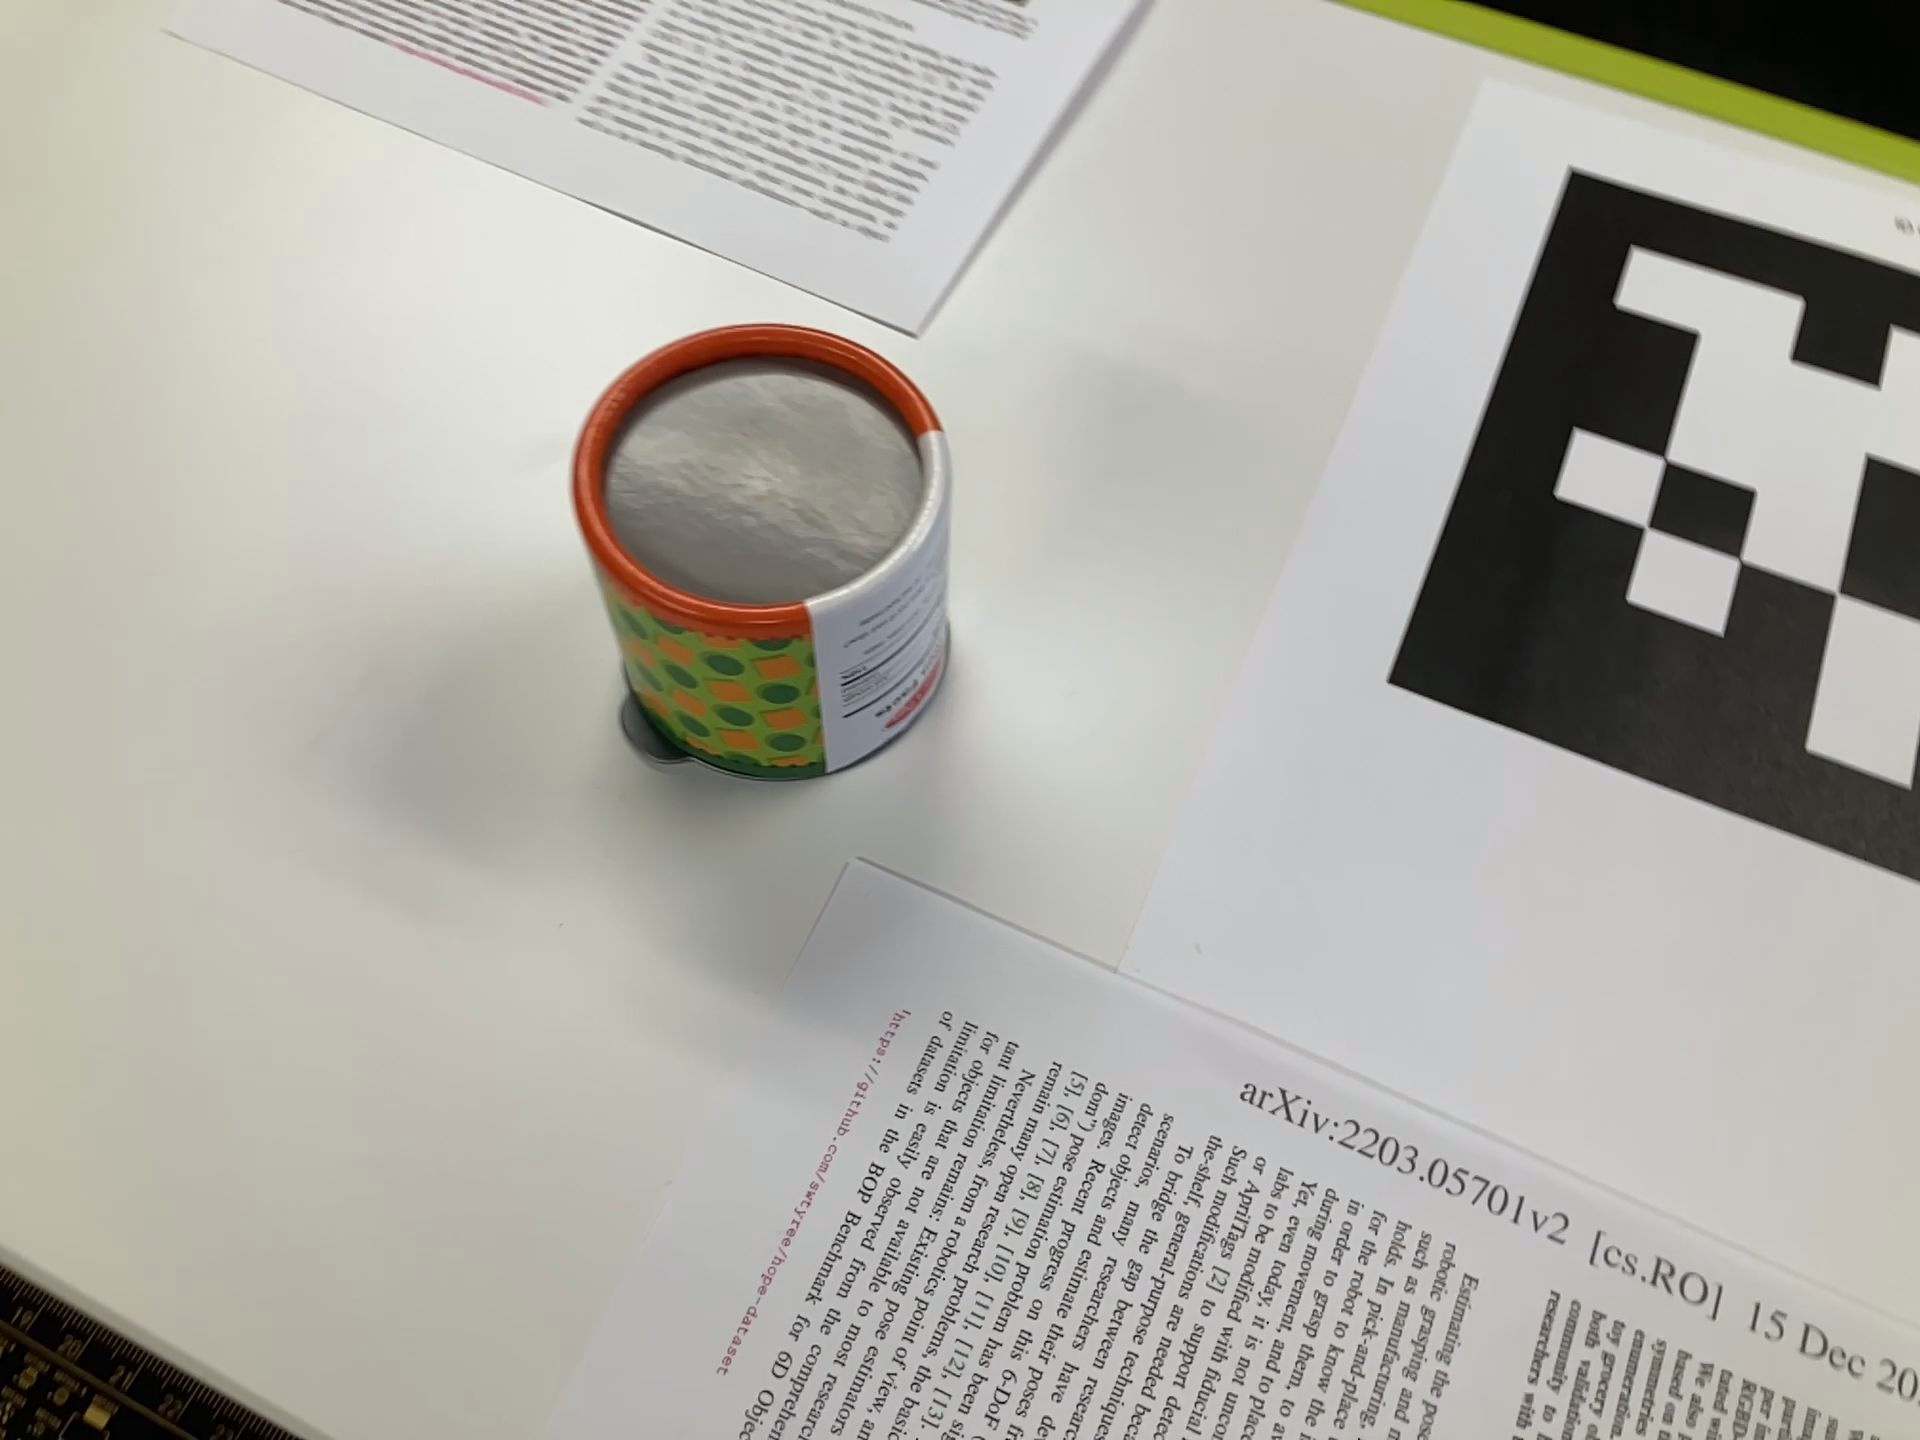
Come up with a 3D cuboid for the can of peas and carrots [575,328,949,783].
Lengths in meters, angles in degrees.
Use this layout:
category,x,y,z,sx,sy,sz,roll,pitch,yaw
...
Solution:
category,x,y,z,sx,sy,sz,roll,pitch,yaw
can of peas and carrots,-0.037,-0.031,0.301,0.071,0.059,0.071,1,61,-1
